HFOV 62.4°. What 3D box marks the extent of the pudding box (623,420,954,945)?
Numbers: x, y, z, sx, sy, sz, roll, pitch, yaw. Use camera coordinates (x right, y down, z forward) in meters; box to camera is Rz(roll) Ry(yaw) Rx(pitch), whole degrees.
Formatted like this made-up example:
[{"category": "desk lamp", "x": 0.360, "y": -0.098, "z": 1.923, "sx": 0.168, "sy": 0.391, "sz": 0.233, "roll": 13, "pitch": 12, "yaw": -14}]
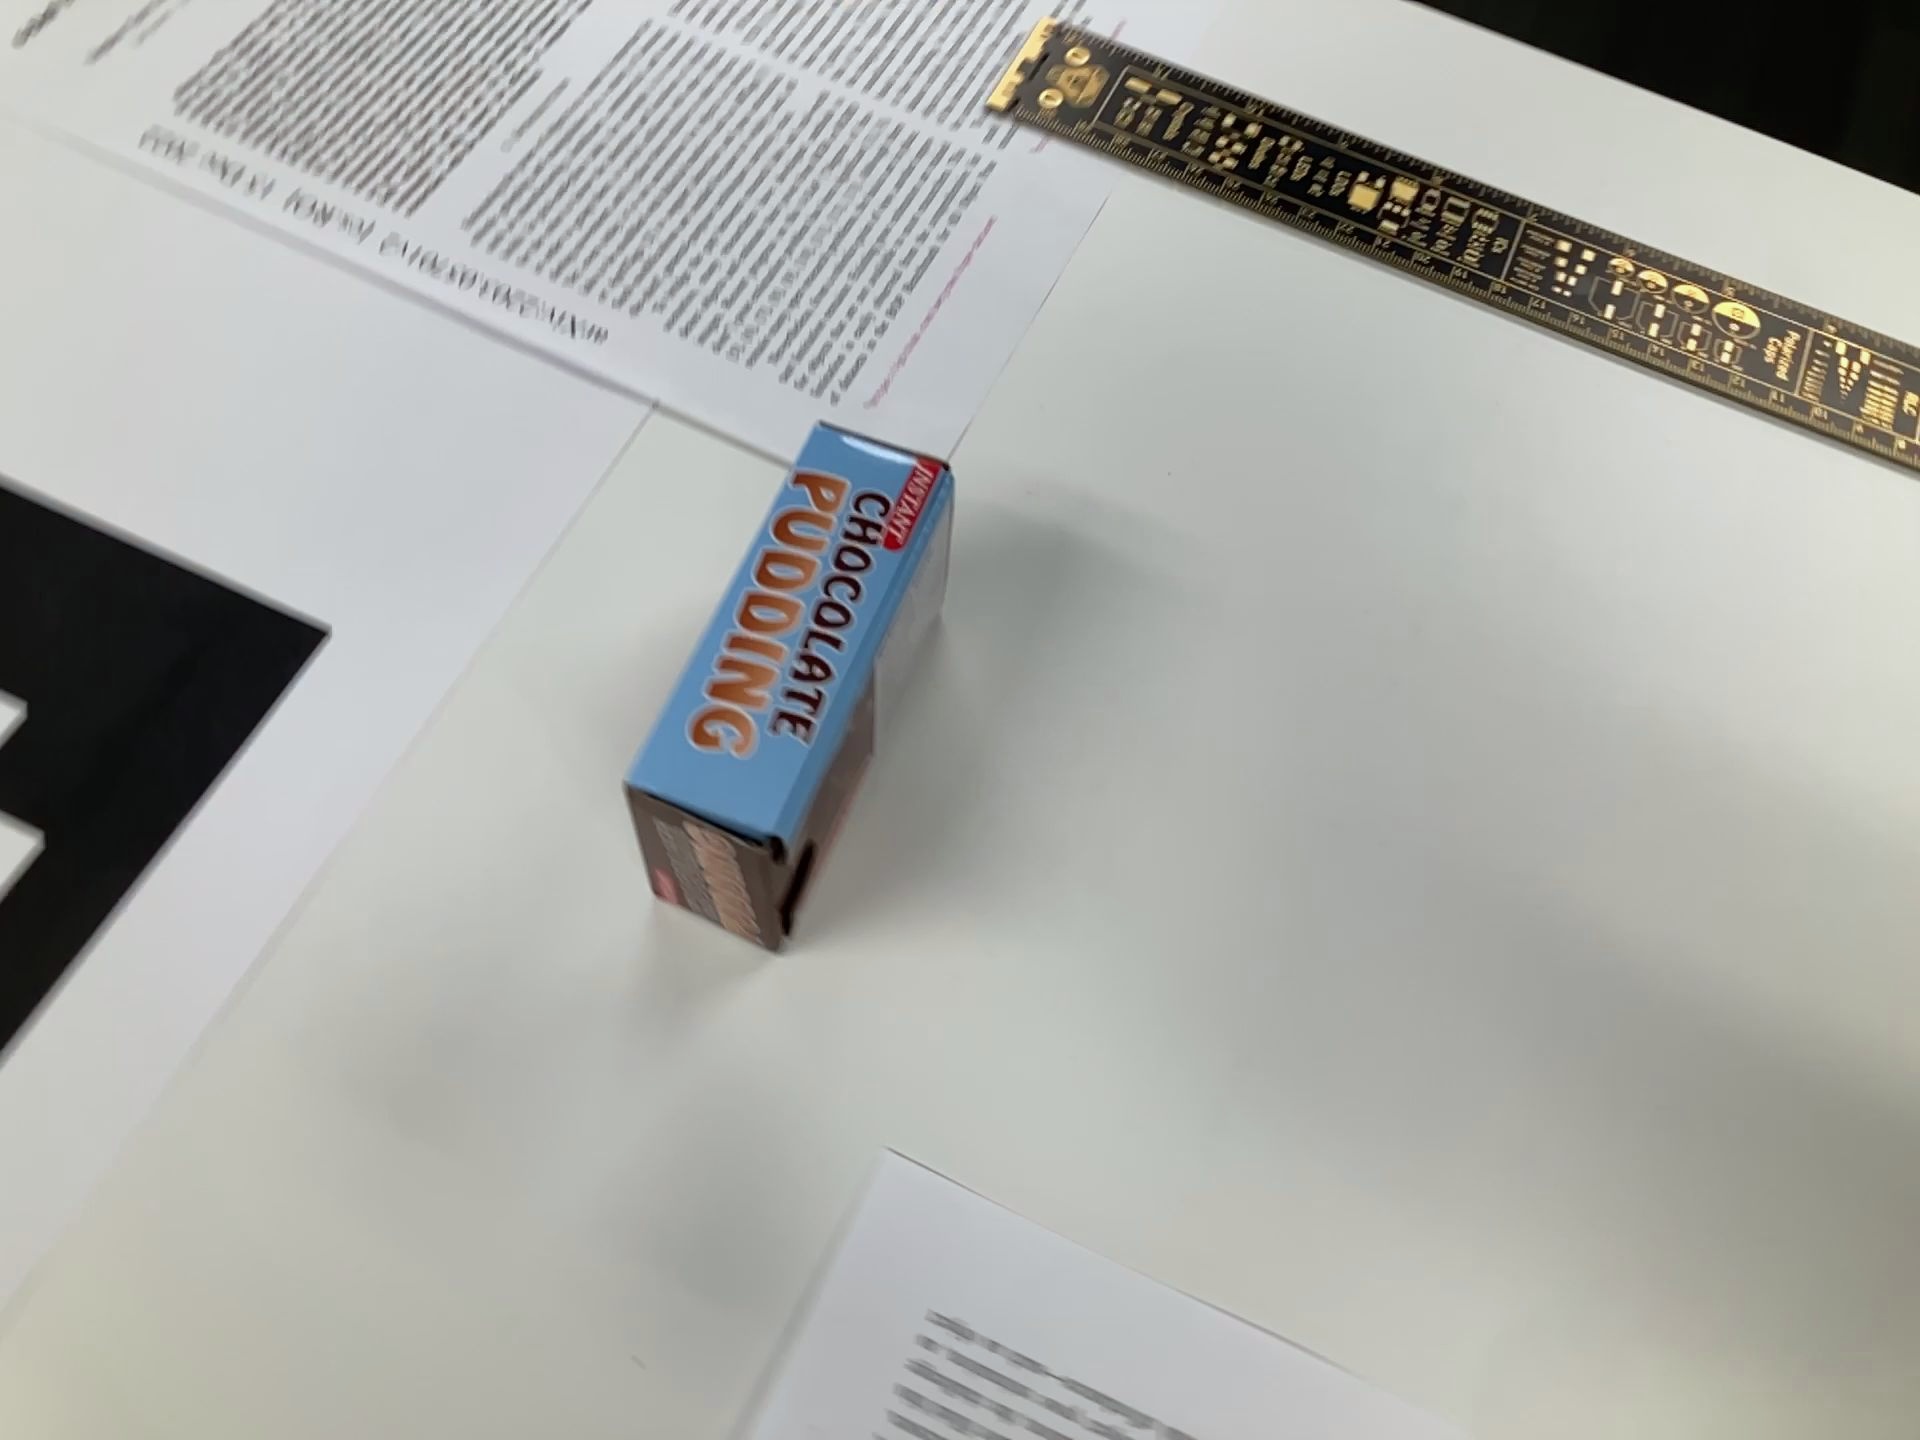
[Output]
[{"category": "pudding box", "x": -0.029, "y": -0.007, "z": 0.295, "sx": 0.030, "sy": 0.049, "sz": 0.083, "roll": 20, "pitch": 63, "yaw": 7}]
